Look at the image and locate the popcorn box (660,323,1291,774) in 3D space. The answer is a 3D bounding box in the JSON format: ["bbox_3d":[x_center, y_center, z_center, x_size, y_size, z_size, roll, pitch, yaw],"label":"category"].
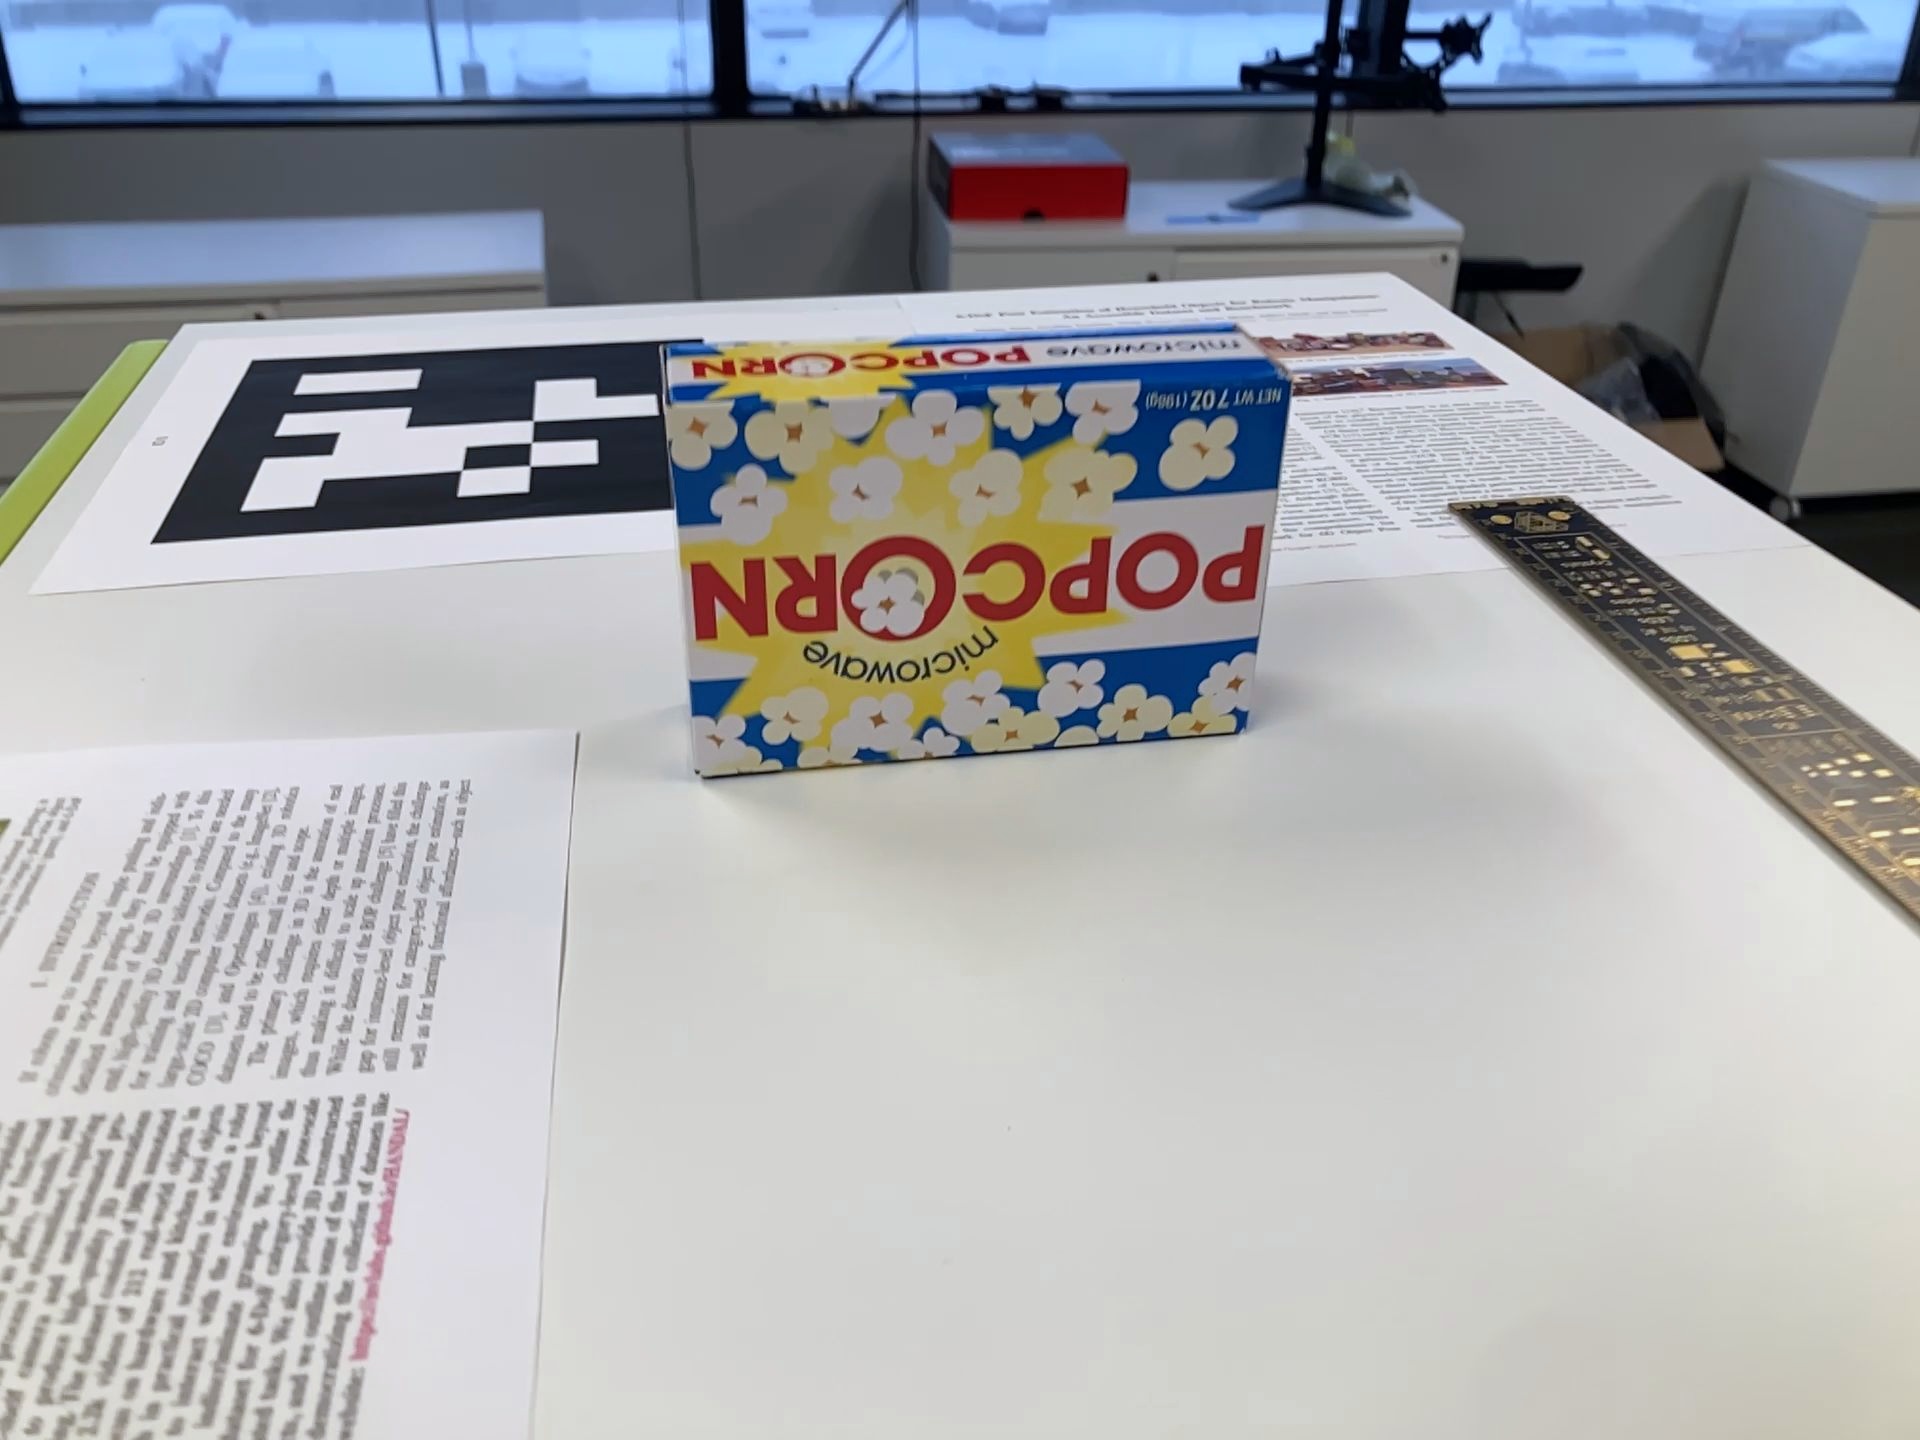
[{"bbox_3d":[0.002,-0.038,0.344,0.126,0.085,0.038,-5,31,-10],"label":"popcorn box"}]
